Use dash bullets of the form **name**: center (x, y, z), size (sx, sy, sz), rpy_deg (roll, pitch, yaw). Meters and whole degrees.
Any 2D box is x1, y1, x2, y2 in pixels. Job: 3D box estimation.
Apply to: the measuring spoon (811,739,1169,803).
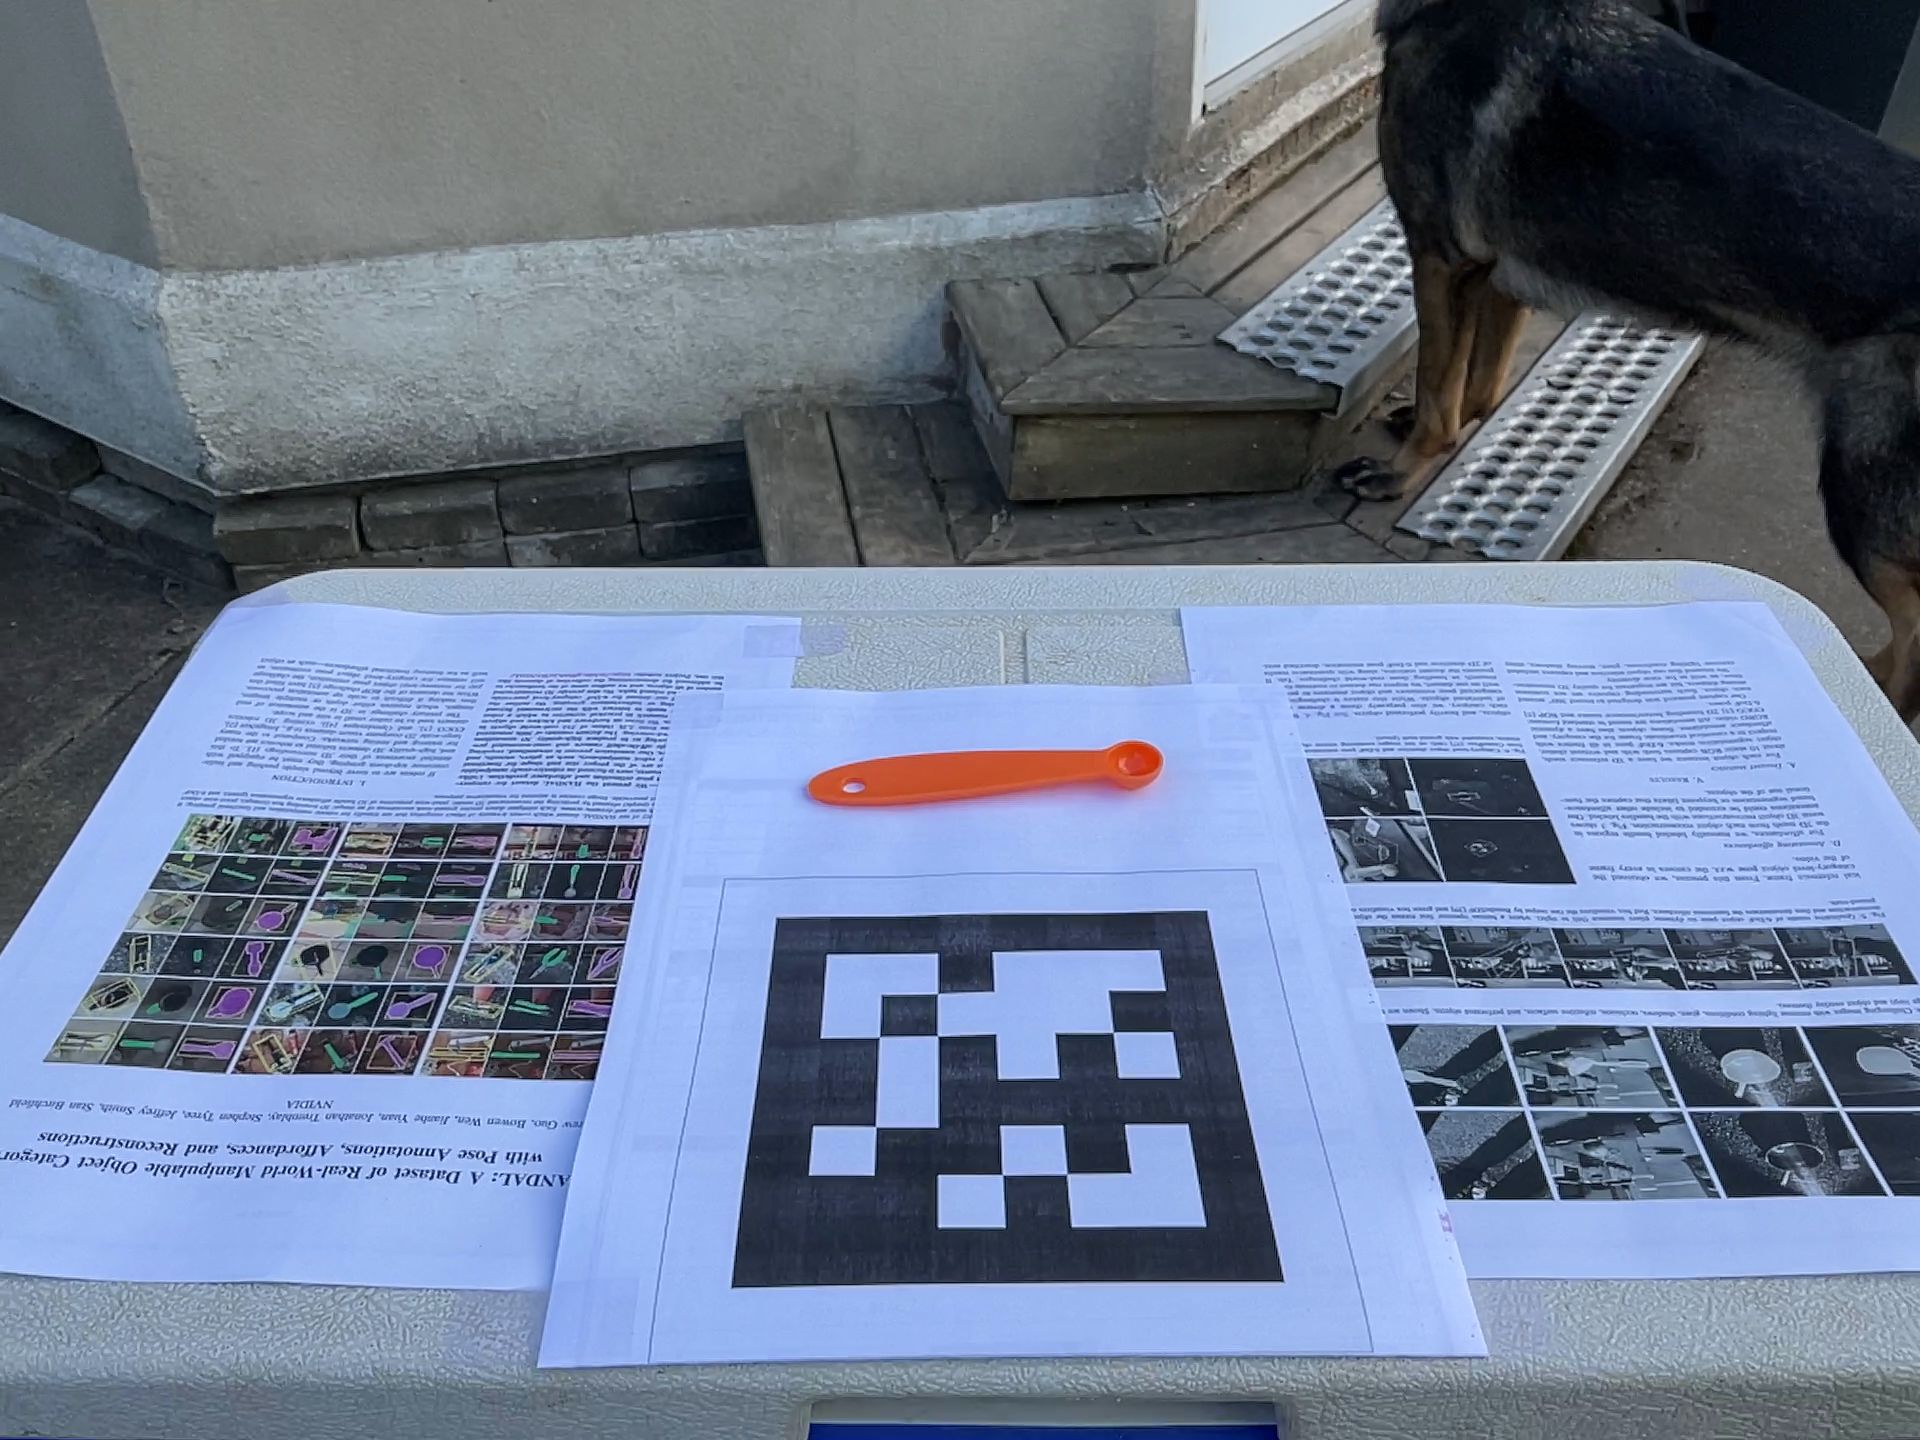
- **measuring spoon**: center (0.010, 0.020, 0.525), size (0.117, 0.011, 0.021), rpy_deg (-5, 38, 1)
